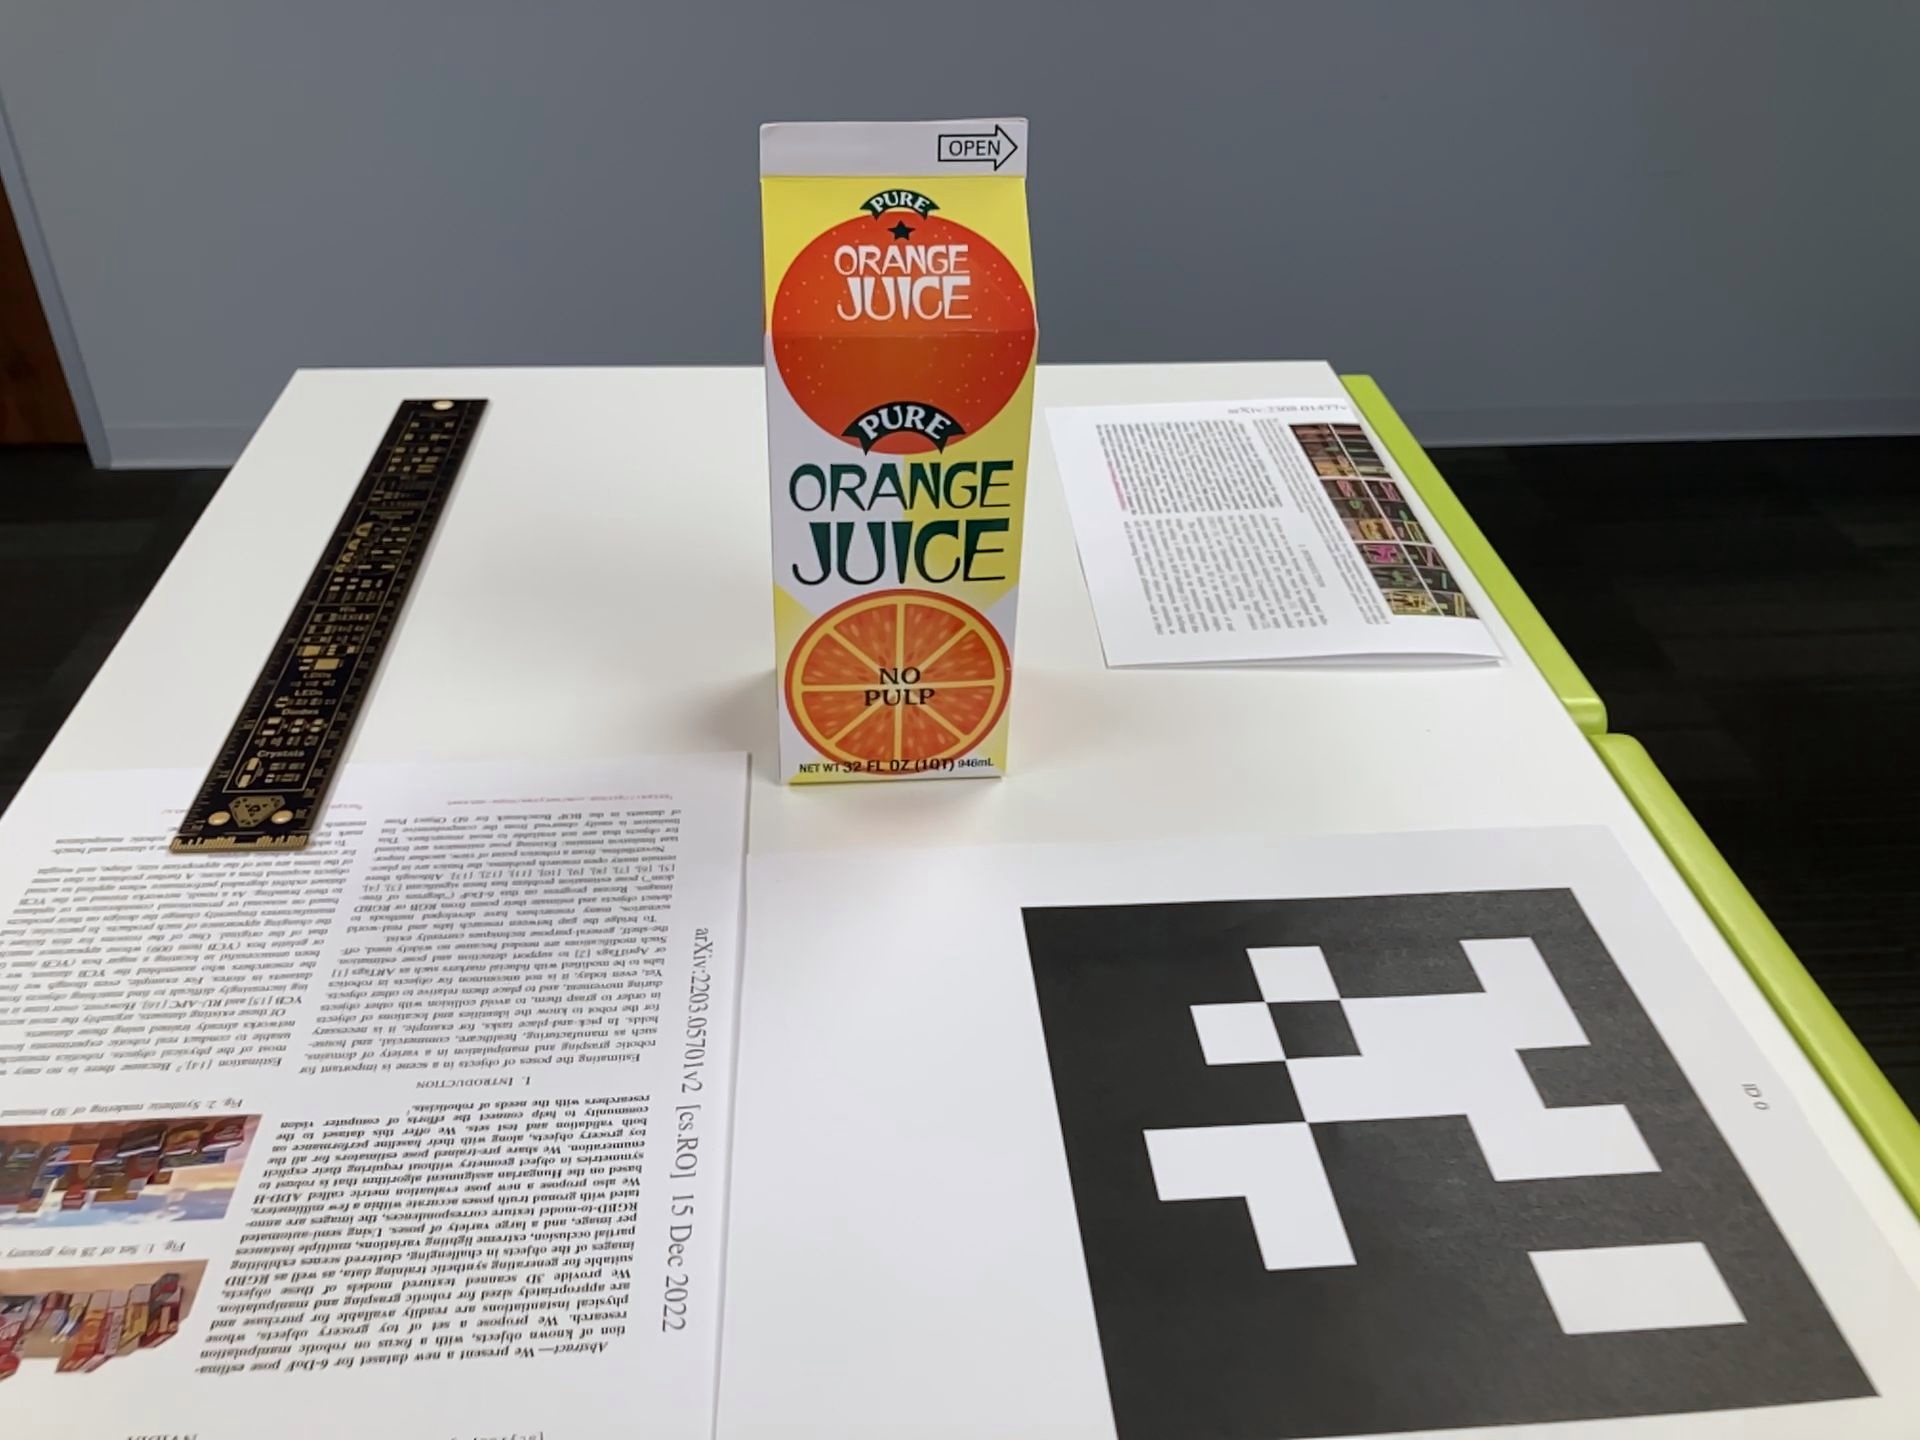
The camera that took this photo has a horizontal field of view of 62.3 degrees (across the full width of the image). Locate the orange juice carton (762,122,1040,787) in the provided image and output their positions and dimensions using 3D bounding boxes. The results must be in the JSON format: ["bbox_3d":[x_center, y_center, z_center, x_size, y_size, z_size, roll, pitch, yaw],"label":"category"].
[{"bbox_3d":[-0.020,-0.077,0.467,0.072,0.192,0.073,-2,36,-6],"label":"orange juice carton"}]
